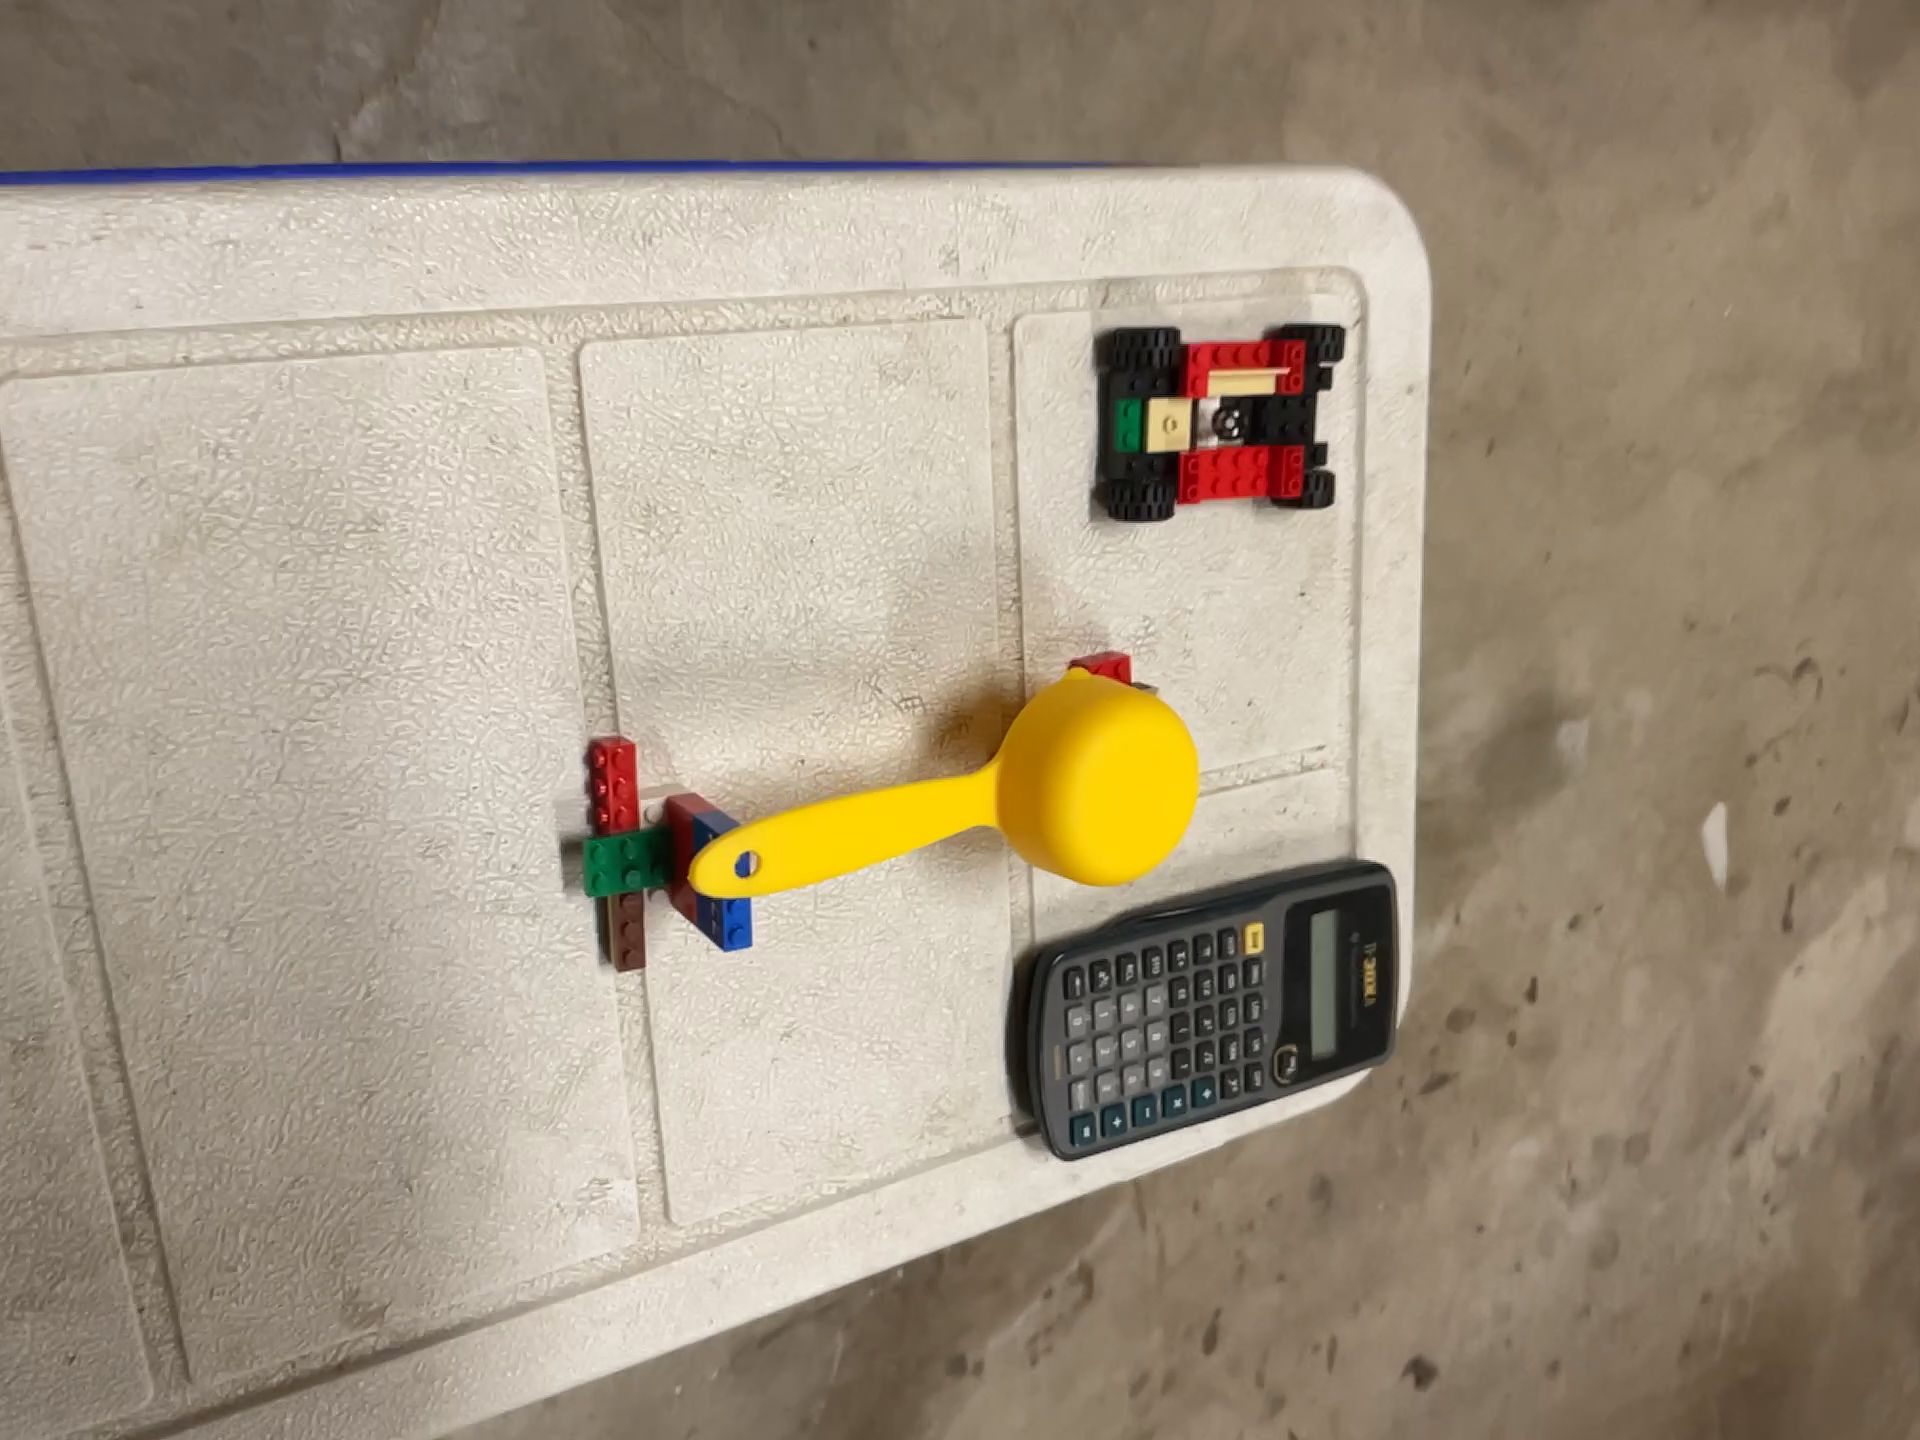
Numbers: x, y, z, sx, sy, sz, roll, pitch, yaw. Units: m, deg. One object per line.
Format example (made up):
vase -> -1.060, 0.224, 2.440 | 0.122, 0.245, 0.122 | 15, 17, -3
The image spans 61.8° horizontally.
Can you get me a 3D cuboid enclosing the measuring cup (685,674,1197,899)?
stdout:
measuring cup -> 0.002, 0.028, 0.433 | 0.156, 0.029, 0.062 | -12, 108, -34
